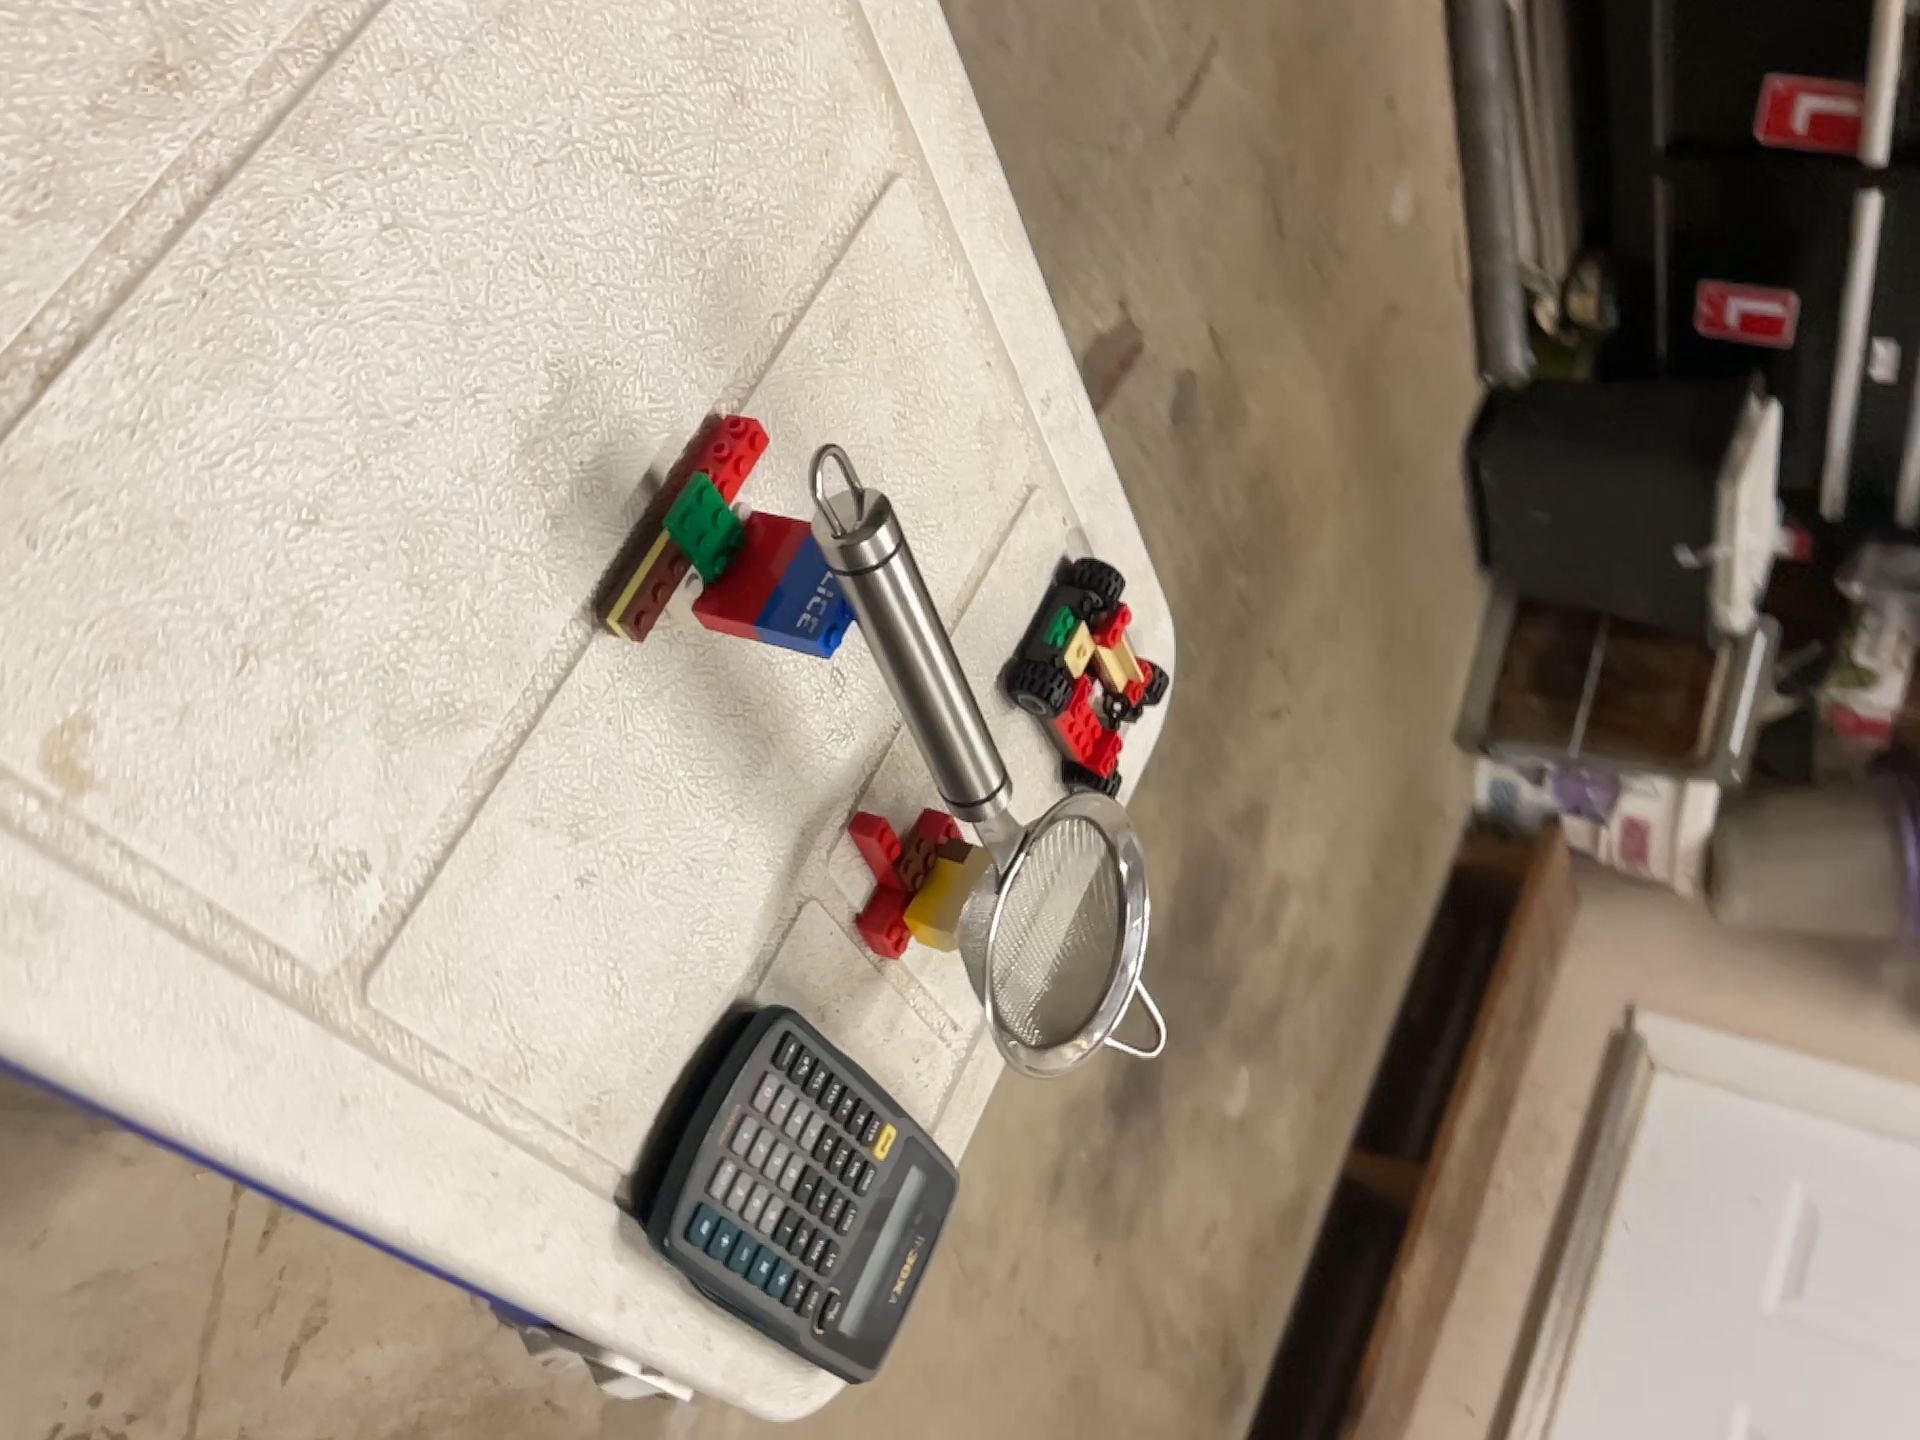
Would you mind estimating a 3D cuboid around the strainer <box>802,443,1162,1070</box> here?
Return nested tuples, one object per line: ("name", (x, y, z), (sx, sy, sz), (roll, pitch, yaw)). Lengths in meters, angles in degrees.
("strainer", (0.006, 0.020, 0.436), (0.087, 0.050, 0.258), (-61, 146, -27))
